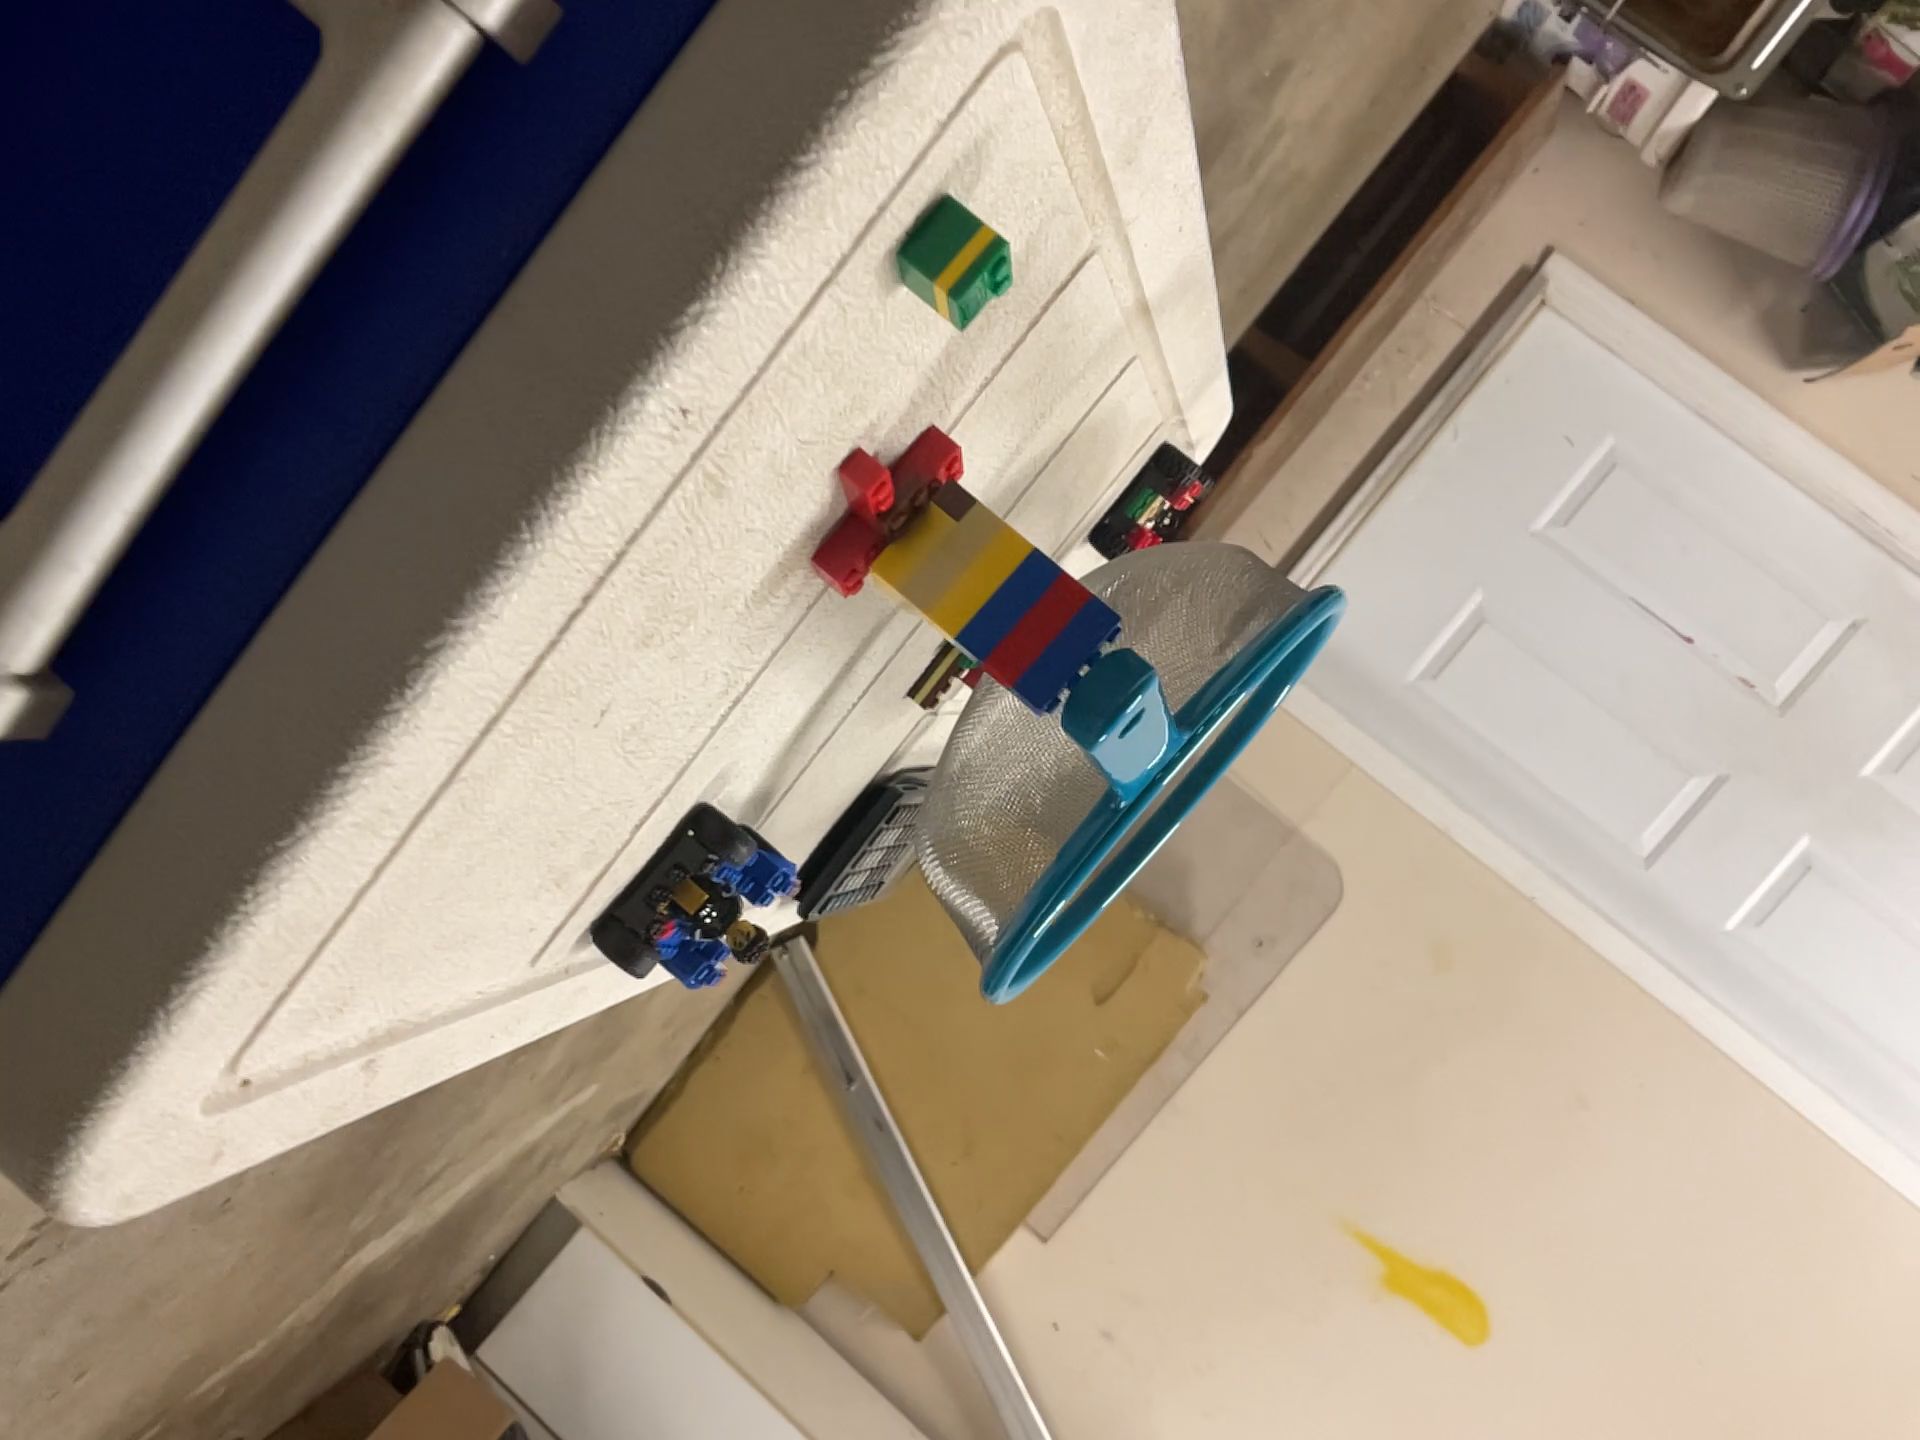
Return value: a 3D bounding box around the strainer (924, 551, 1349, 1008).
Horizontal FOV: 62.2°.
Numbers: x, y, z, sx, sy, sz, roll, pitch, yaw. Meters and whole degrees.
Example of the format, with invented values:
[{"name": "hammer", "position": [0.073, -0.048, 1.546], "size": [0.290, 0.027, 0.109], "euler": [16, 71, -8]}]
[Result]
[{"name": "strainer", "position": [0.039, -0.004, 0.570], "size": [0.211, 0.095, 0.340], "euler": [-49, 166, 0]}]
